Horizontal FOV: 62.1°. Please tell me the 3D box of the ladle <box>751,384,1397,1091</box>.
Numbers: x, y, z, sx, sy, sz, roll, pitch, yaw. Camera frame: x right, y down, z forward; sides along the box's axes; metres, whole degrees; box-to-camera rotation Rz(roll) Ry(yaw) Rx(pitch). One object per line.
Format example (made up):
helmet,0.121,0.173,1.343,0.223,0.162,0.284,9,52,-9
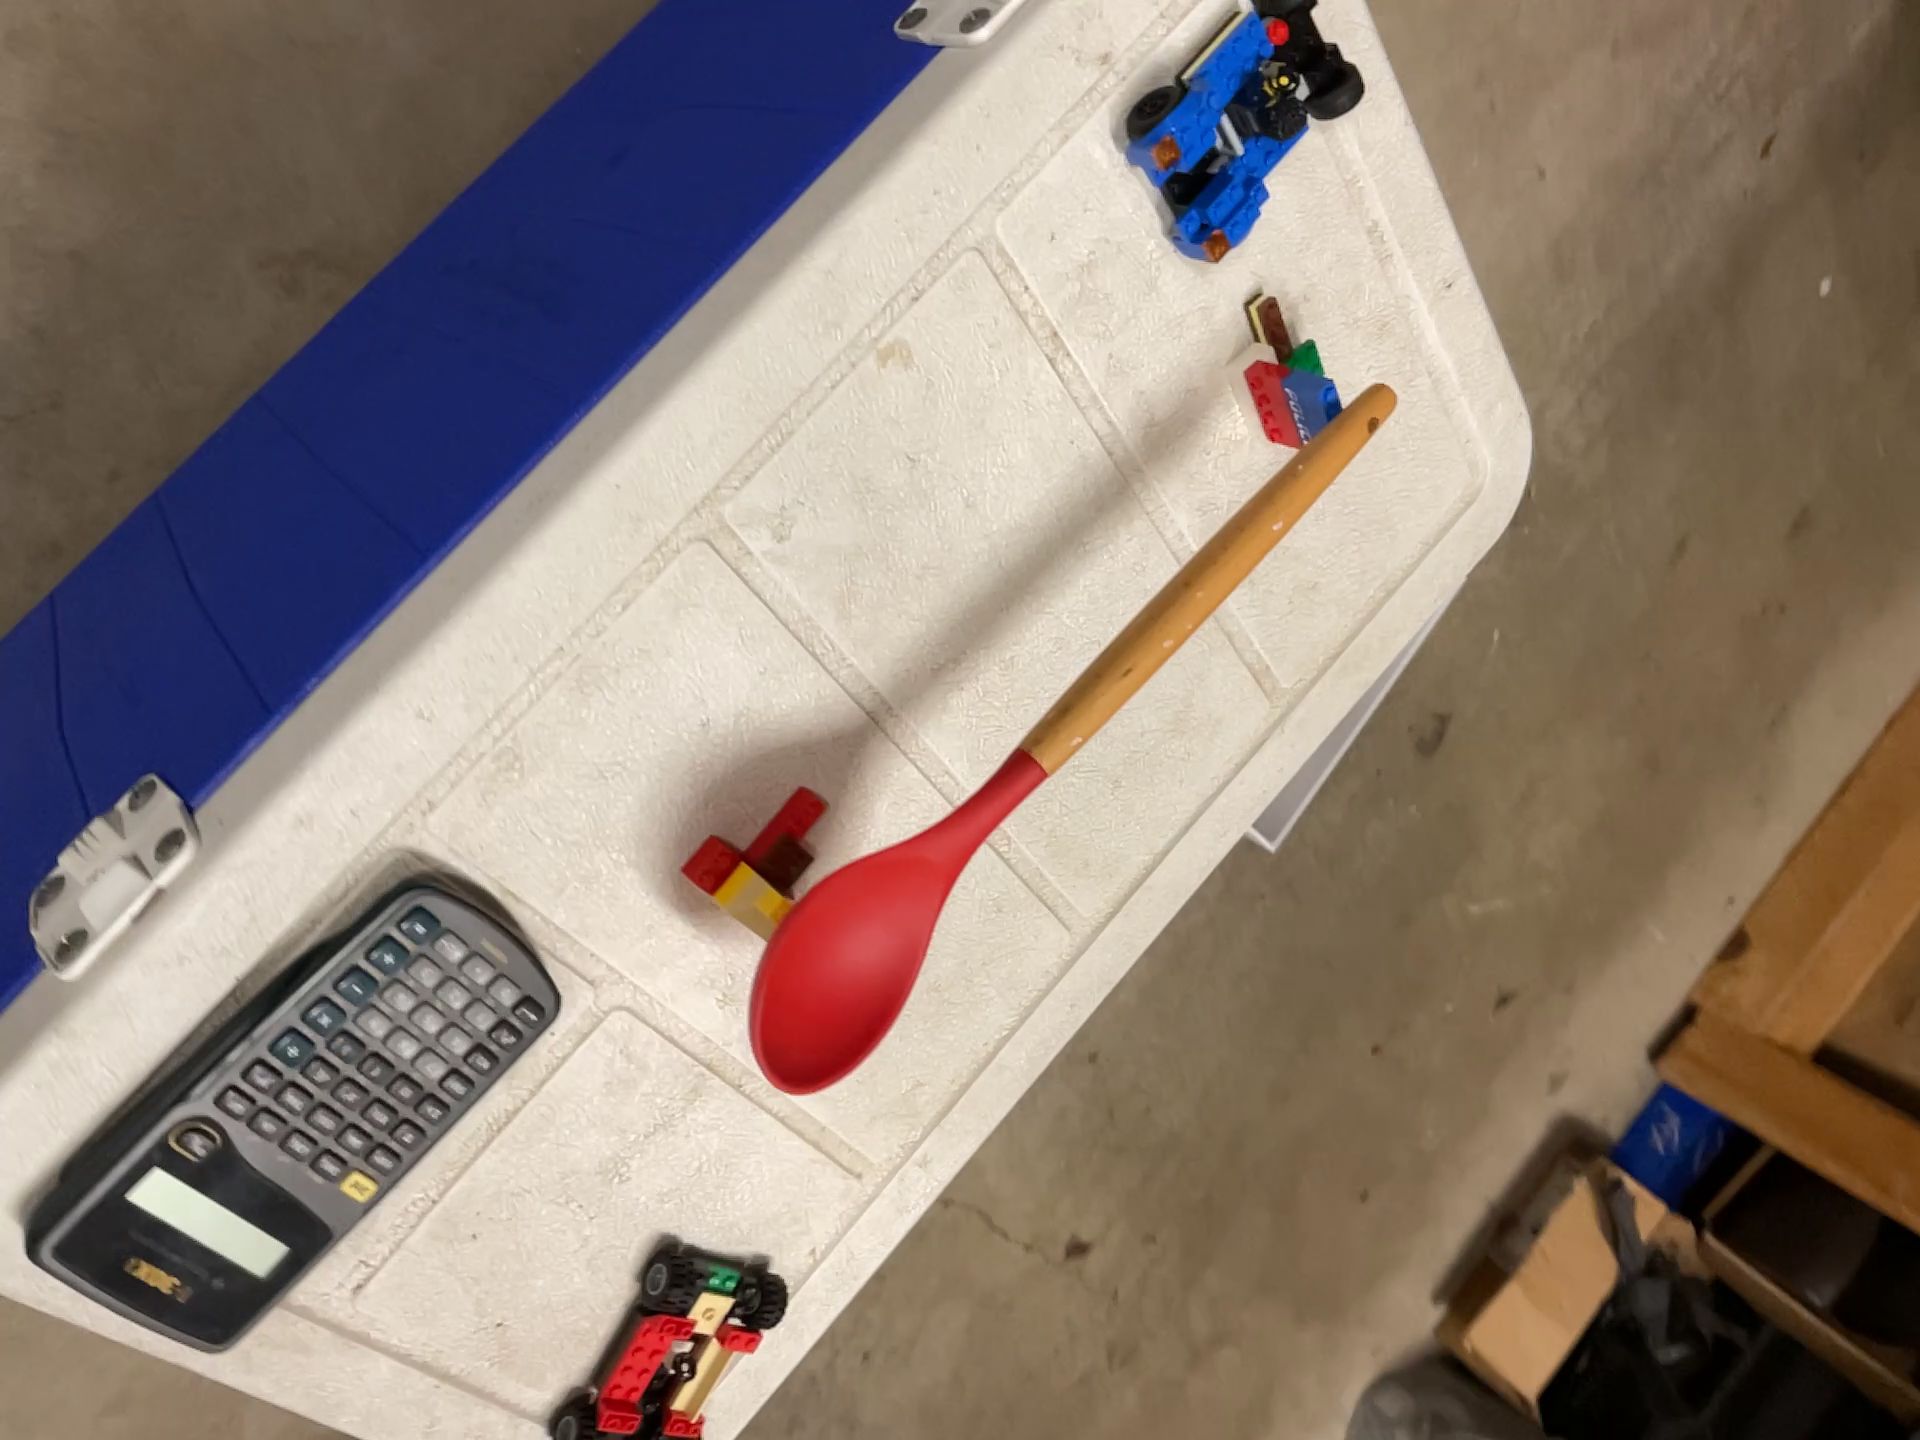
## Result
ladle,0.043,-0.005,0.533,0.315,0.031,0.069,-46,135,-11
